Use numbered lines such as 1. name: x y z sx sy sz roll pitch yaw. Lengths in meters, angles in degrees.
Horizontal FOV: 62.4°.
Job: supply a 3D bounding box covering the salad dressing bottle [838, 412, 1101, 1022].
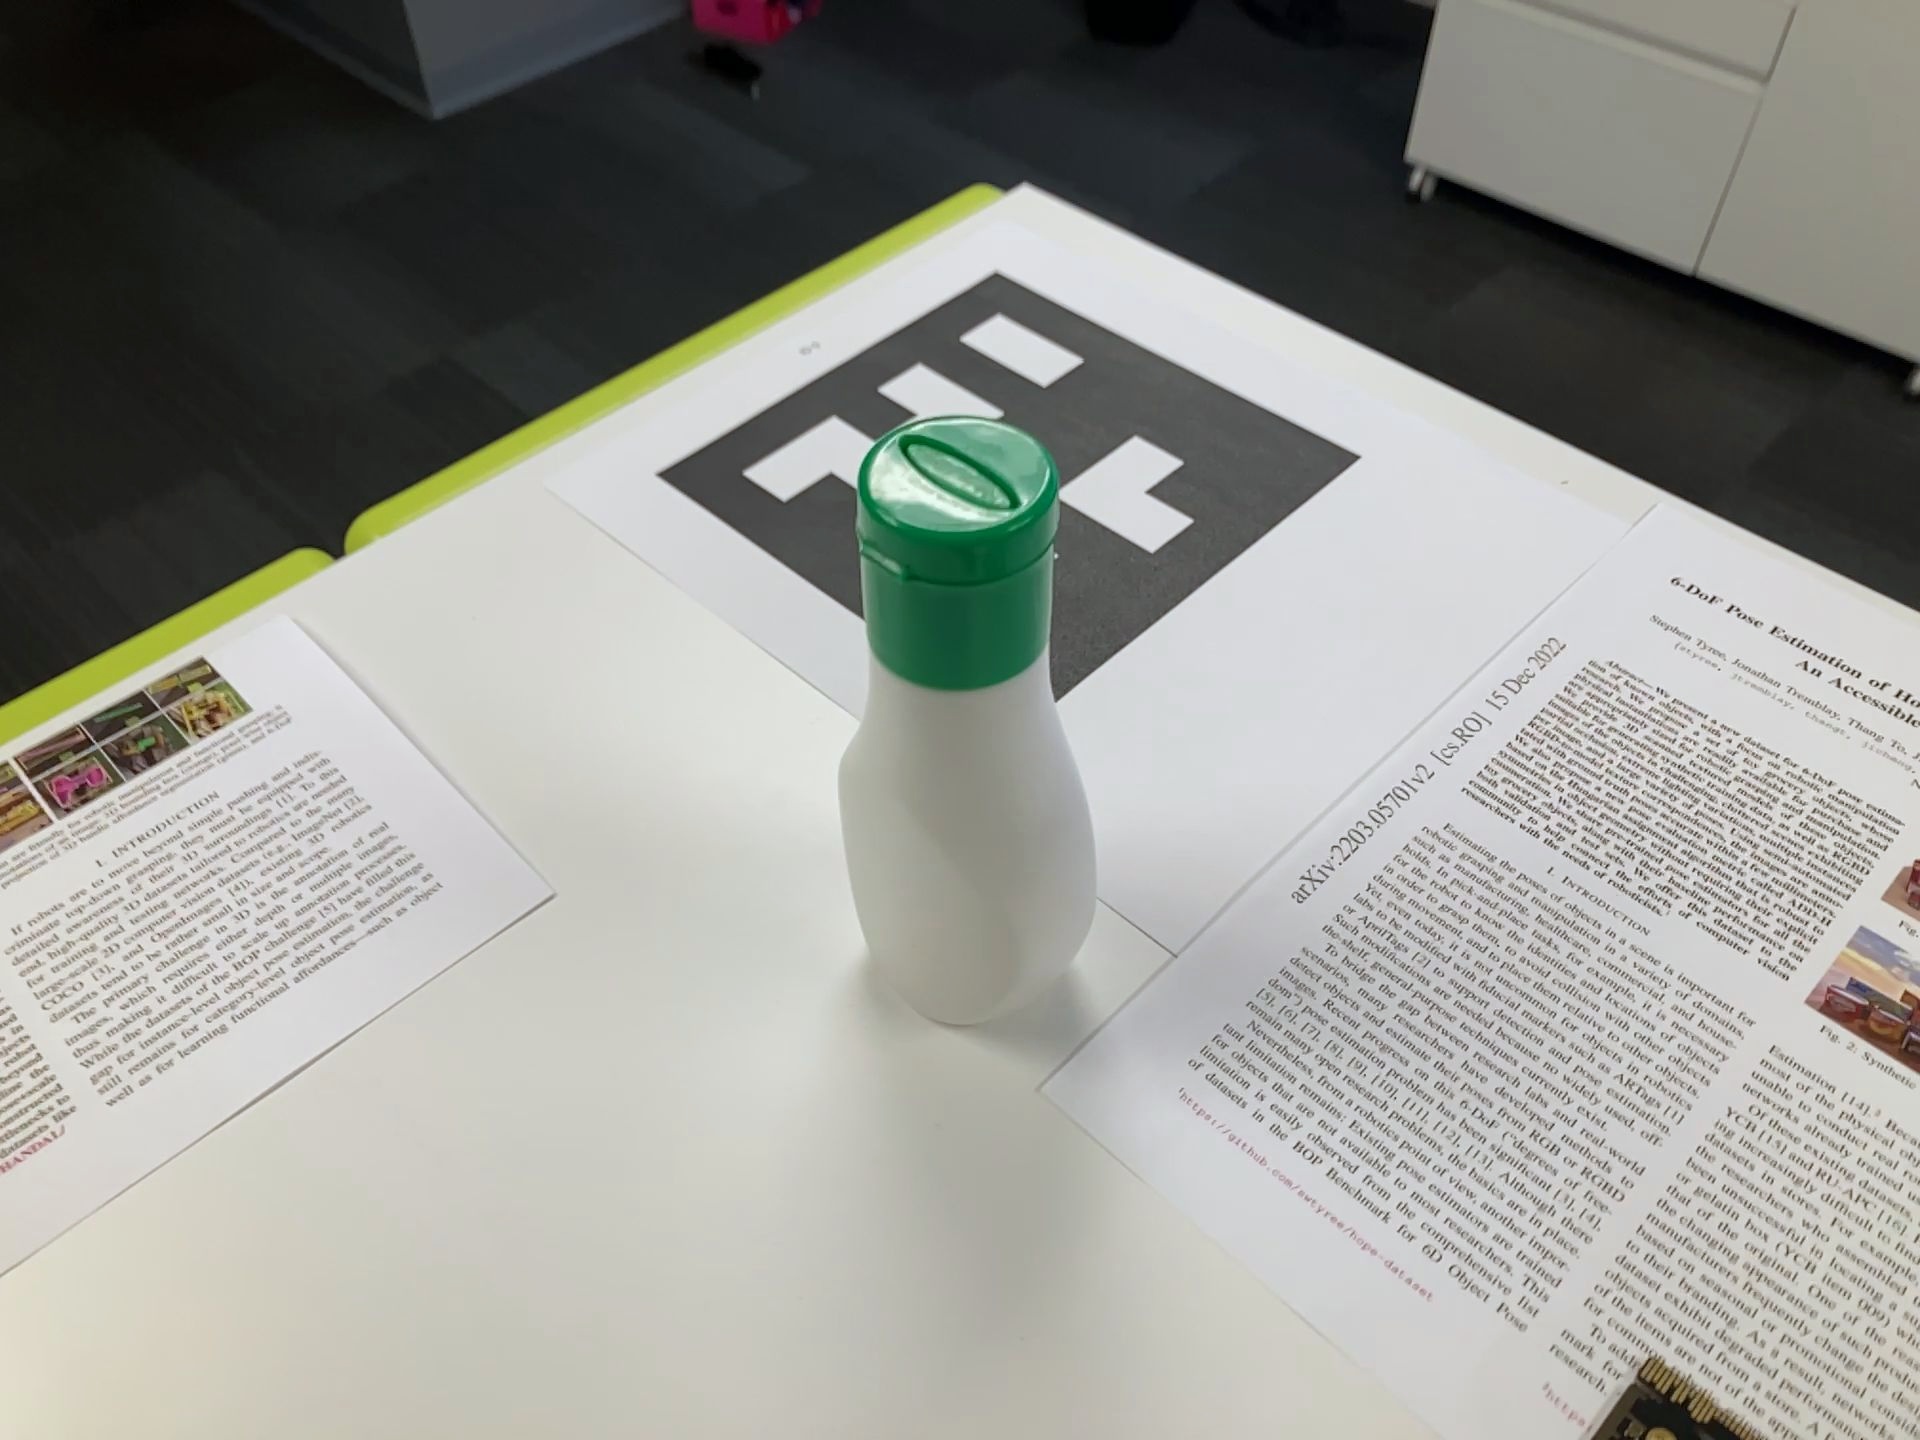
1. salad dressing bottle: 0.001 0.006 0.332 0.044 0.147 0.064 -37 57 -28
